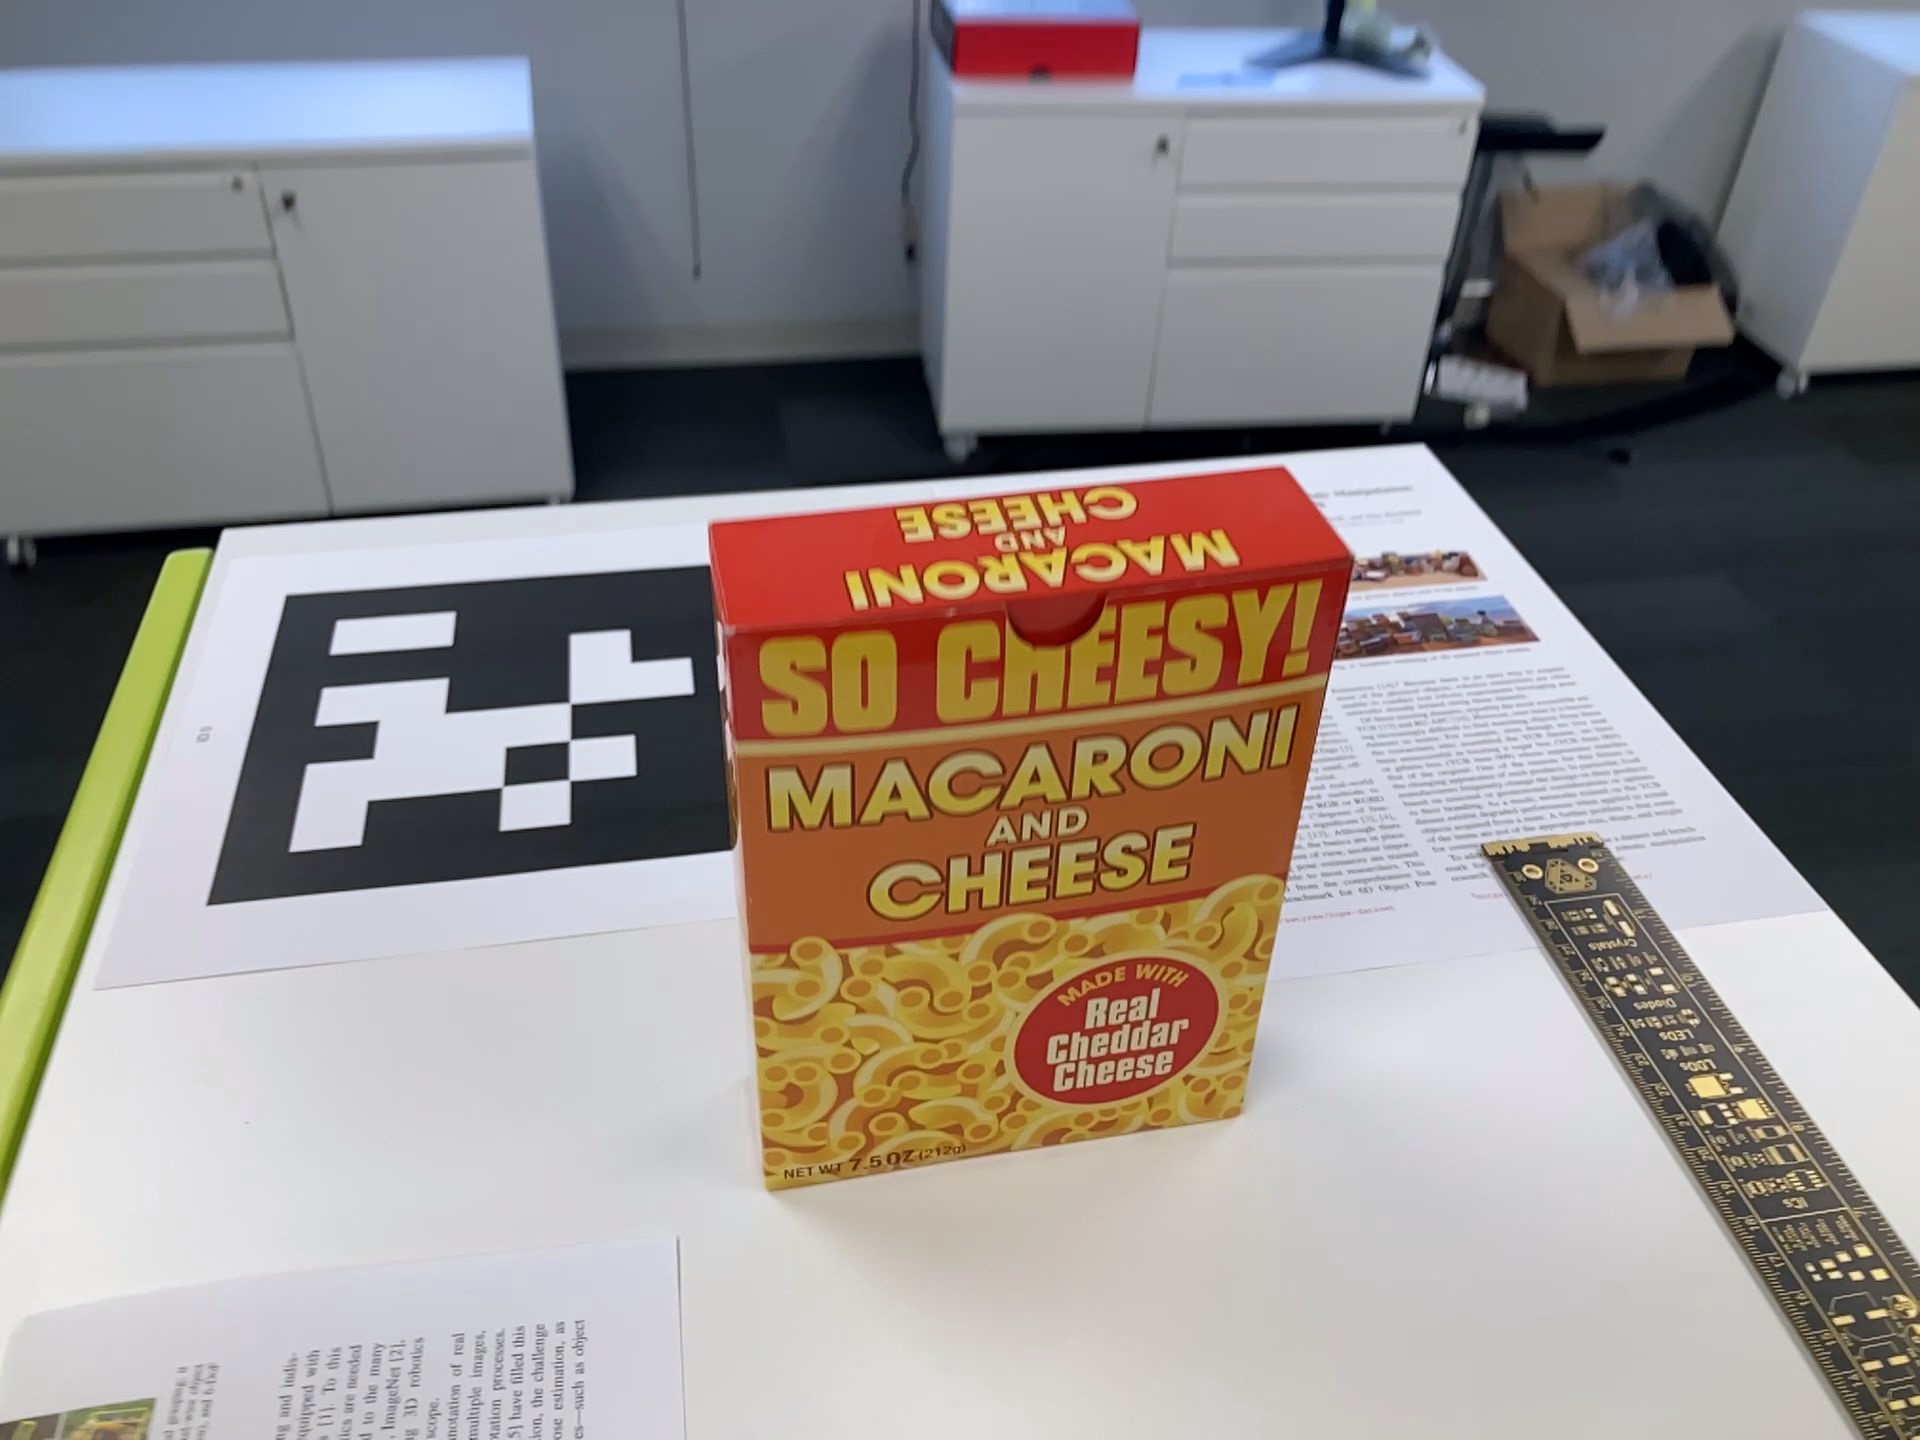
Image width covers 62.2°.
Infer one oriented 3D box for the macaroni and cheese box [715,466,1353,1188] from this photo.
[{"bbox_3d":[0.012,0.030,0.359,0.124,0.166,0.040,-7,38,-12],"label":"macaroni and cheese box"}]
